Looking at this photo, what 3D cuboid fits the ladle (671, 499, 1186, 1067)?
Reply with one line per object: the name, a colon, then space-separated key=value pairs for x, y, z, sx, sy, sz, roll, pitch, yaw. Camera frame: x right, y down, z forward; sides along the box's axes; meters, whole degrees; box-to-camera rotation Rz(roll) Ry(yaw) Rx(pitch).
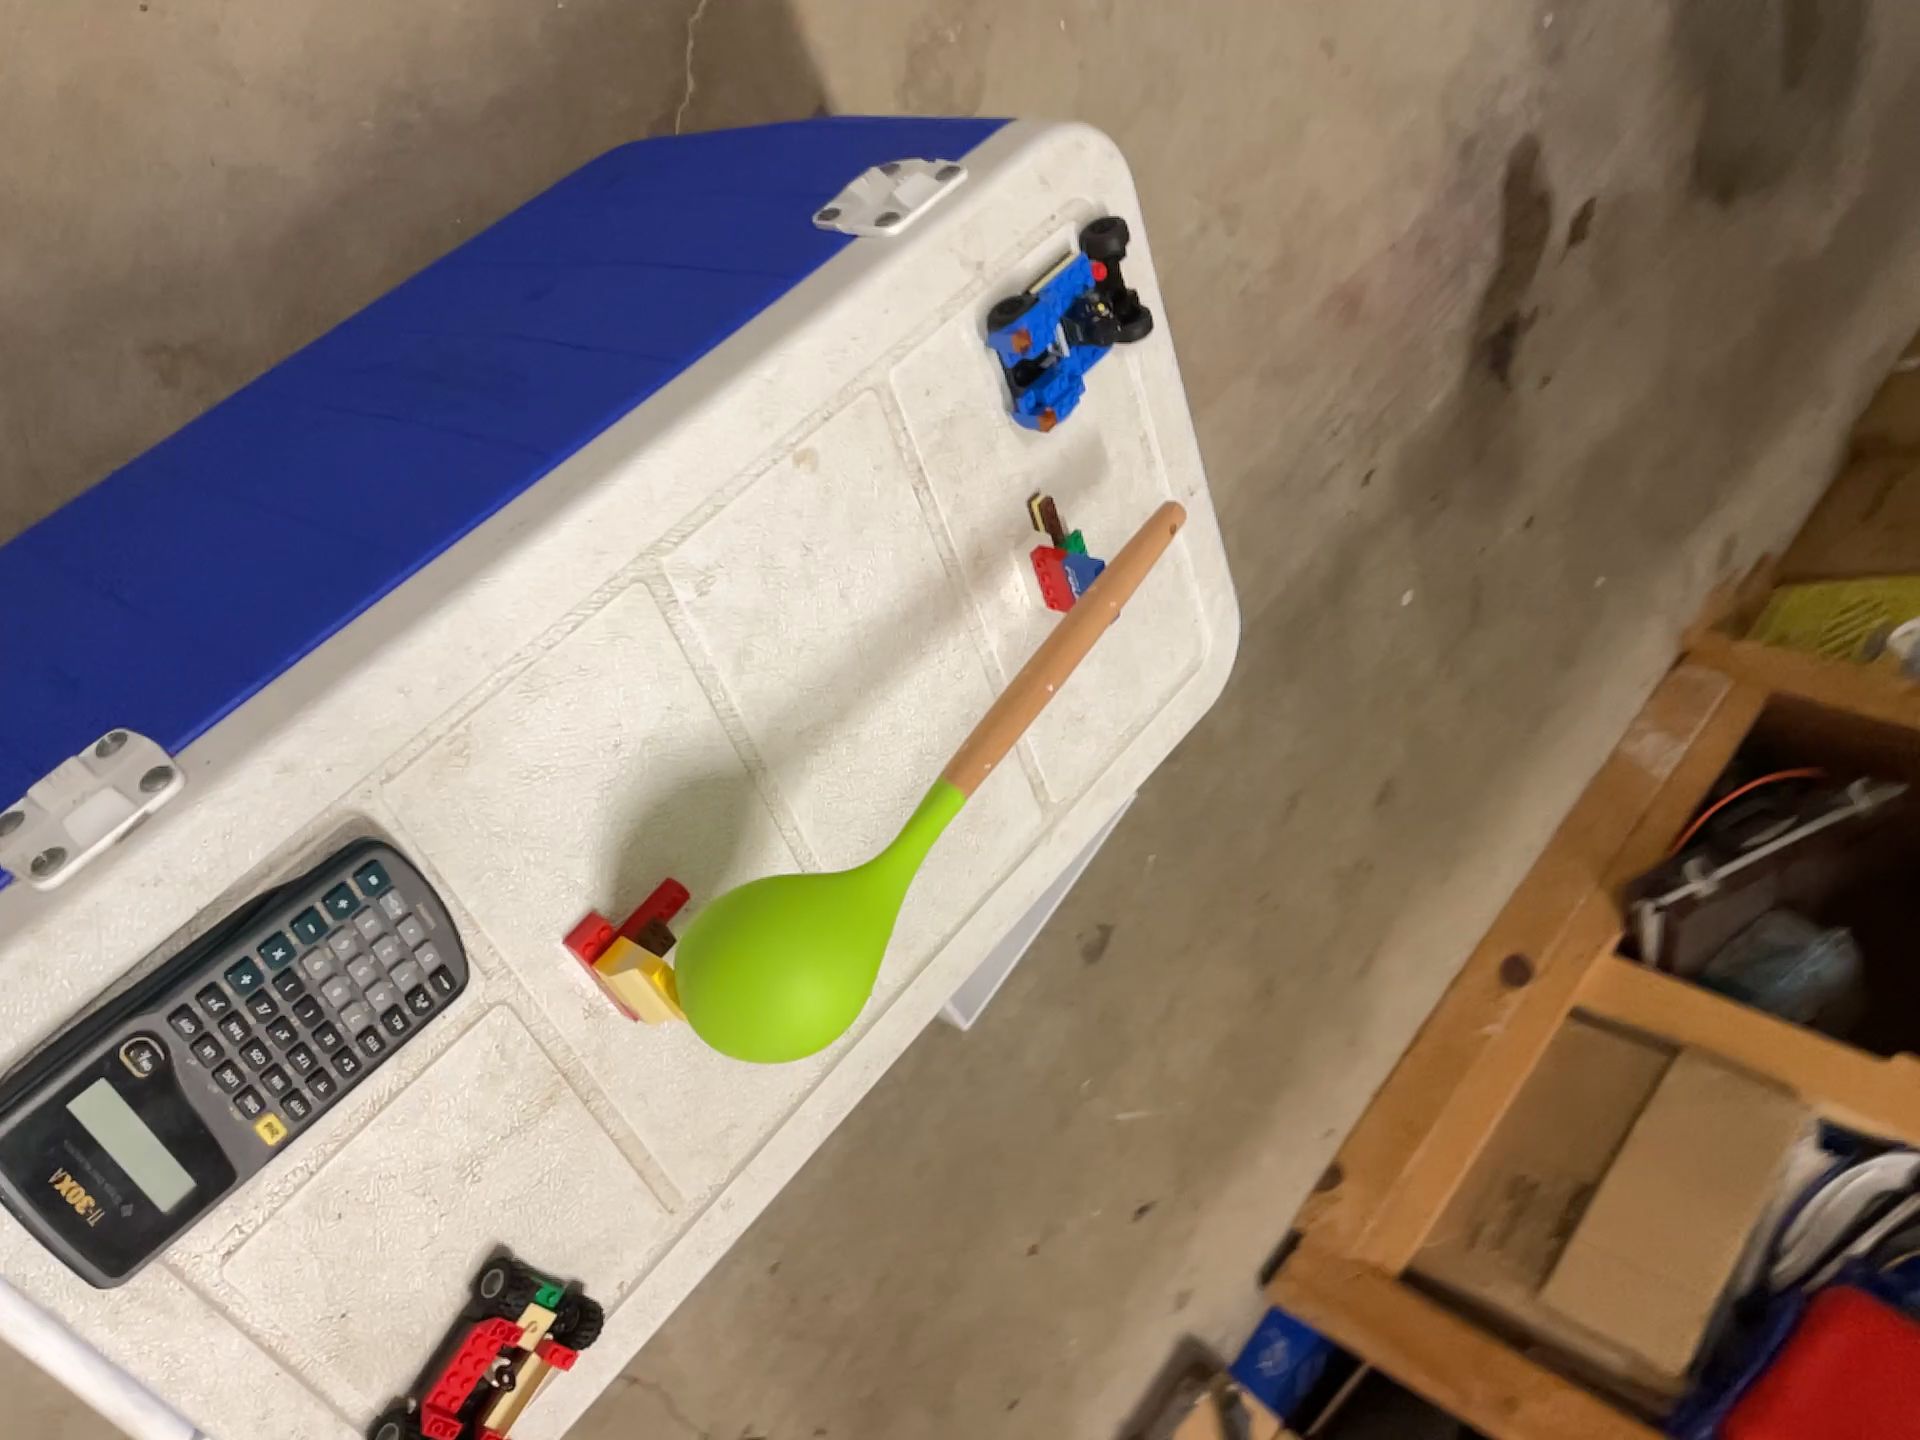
ladle: x=0.001 y=0.010 z=0.656 sx=0.320 sy=0.062 sz=0.078 roll=-51 pitch=130 yaw=-30
